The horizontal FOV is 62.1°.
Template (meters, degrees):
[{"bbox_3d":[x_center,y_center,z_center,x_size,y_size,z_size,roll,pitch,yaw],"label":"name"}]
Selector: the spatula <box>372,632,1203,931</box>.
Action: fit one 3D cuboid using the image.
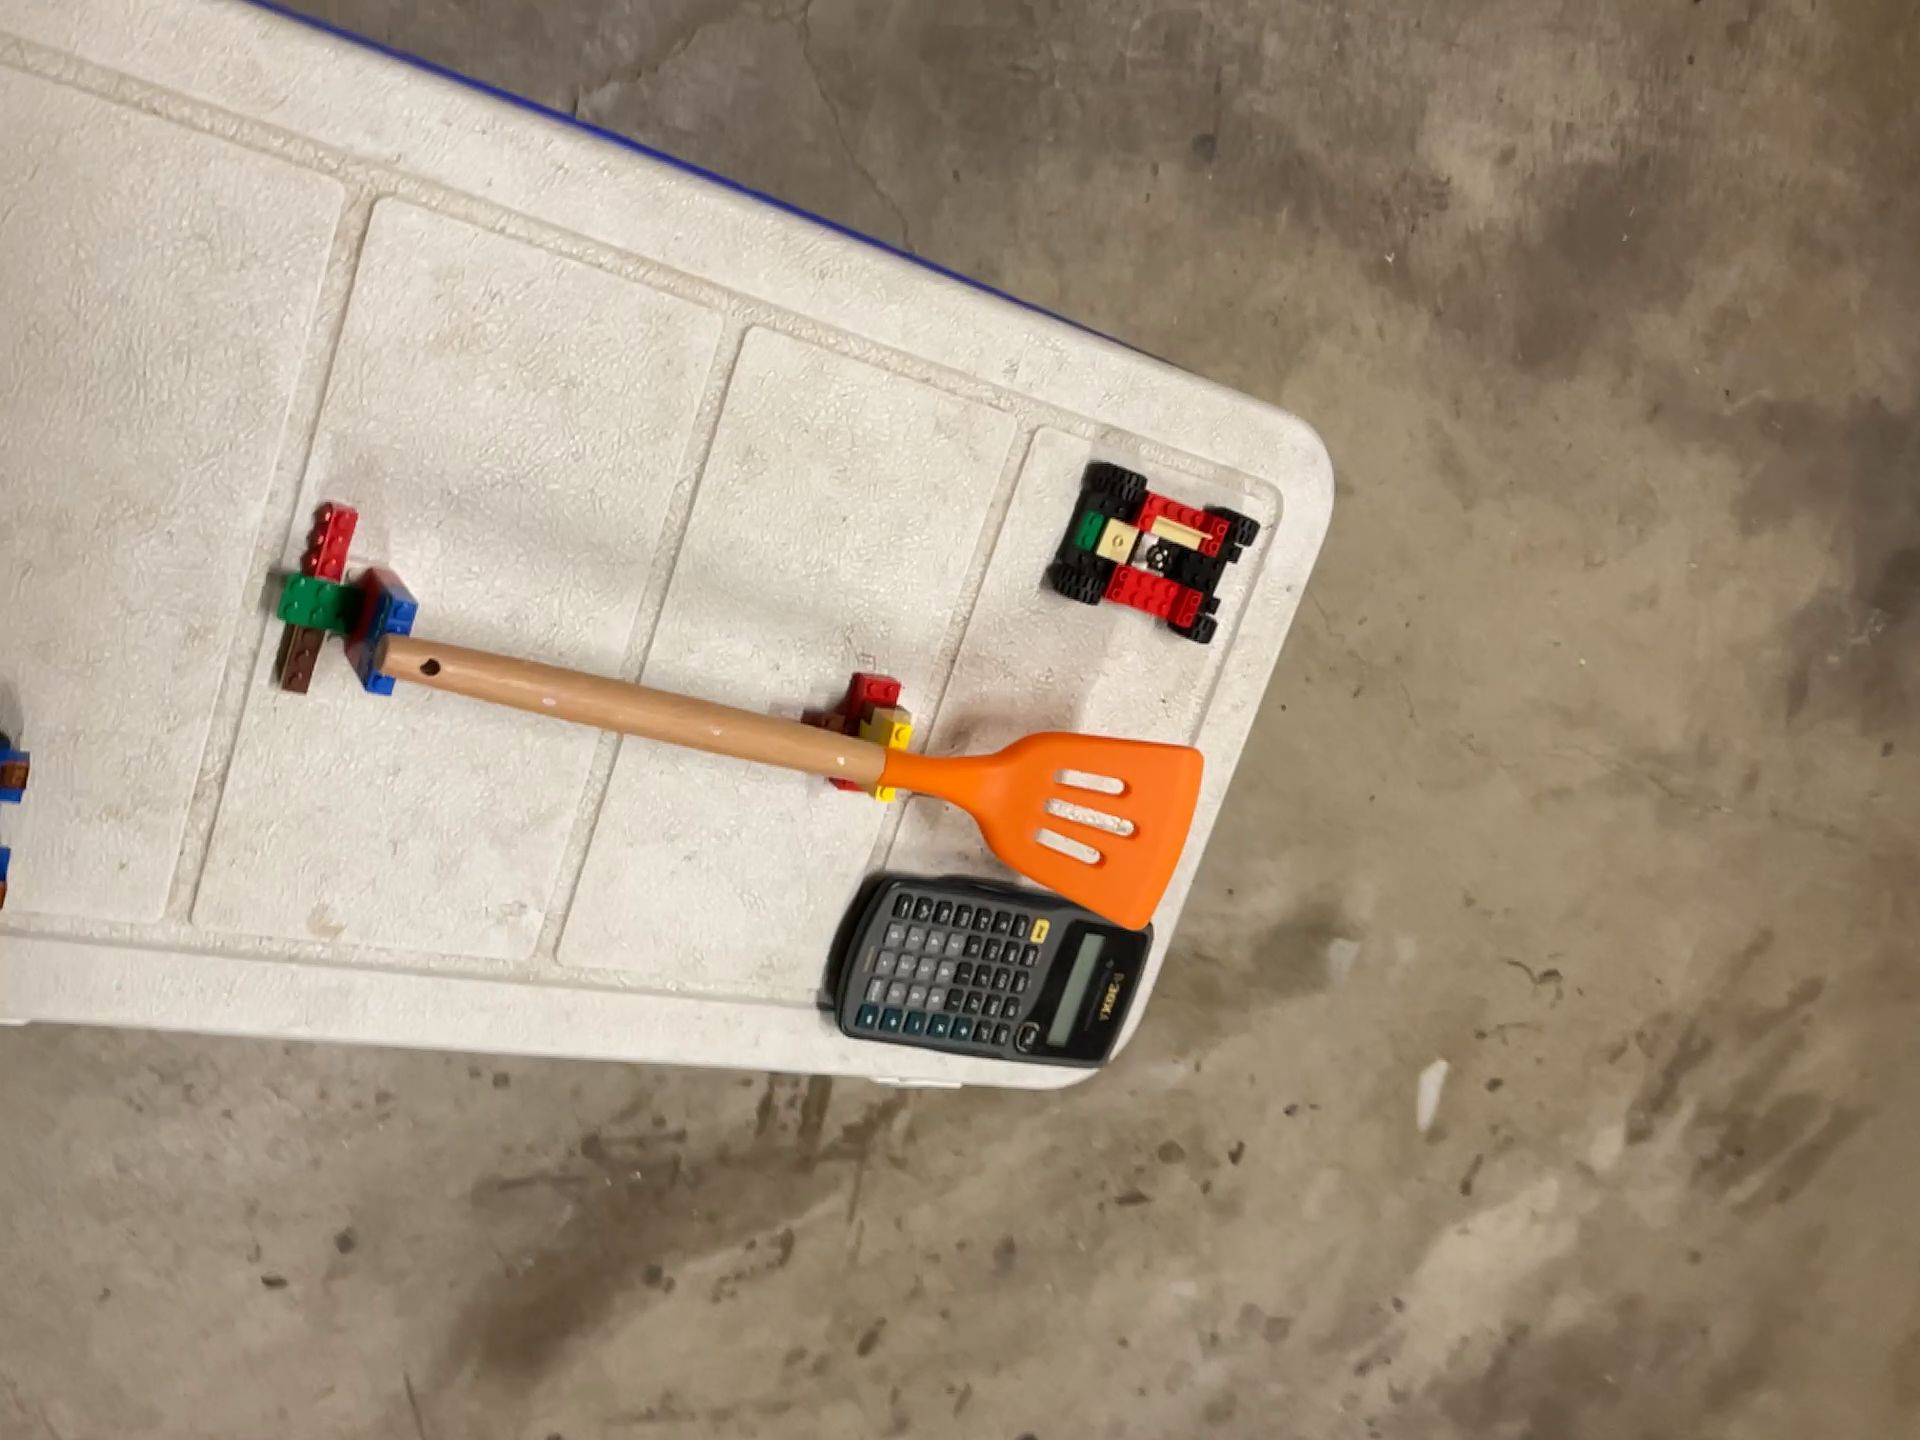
[{"bbox_3d":[-0.048,0.013,0.580,0.322,0.041,0.081,14,98,-34],"label":"spatula"}]
